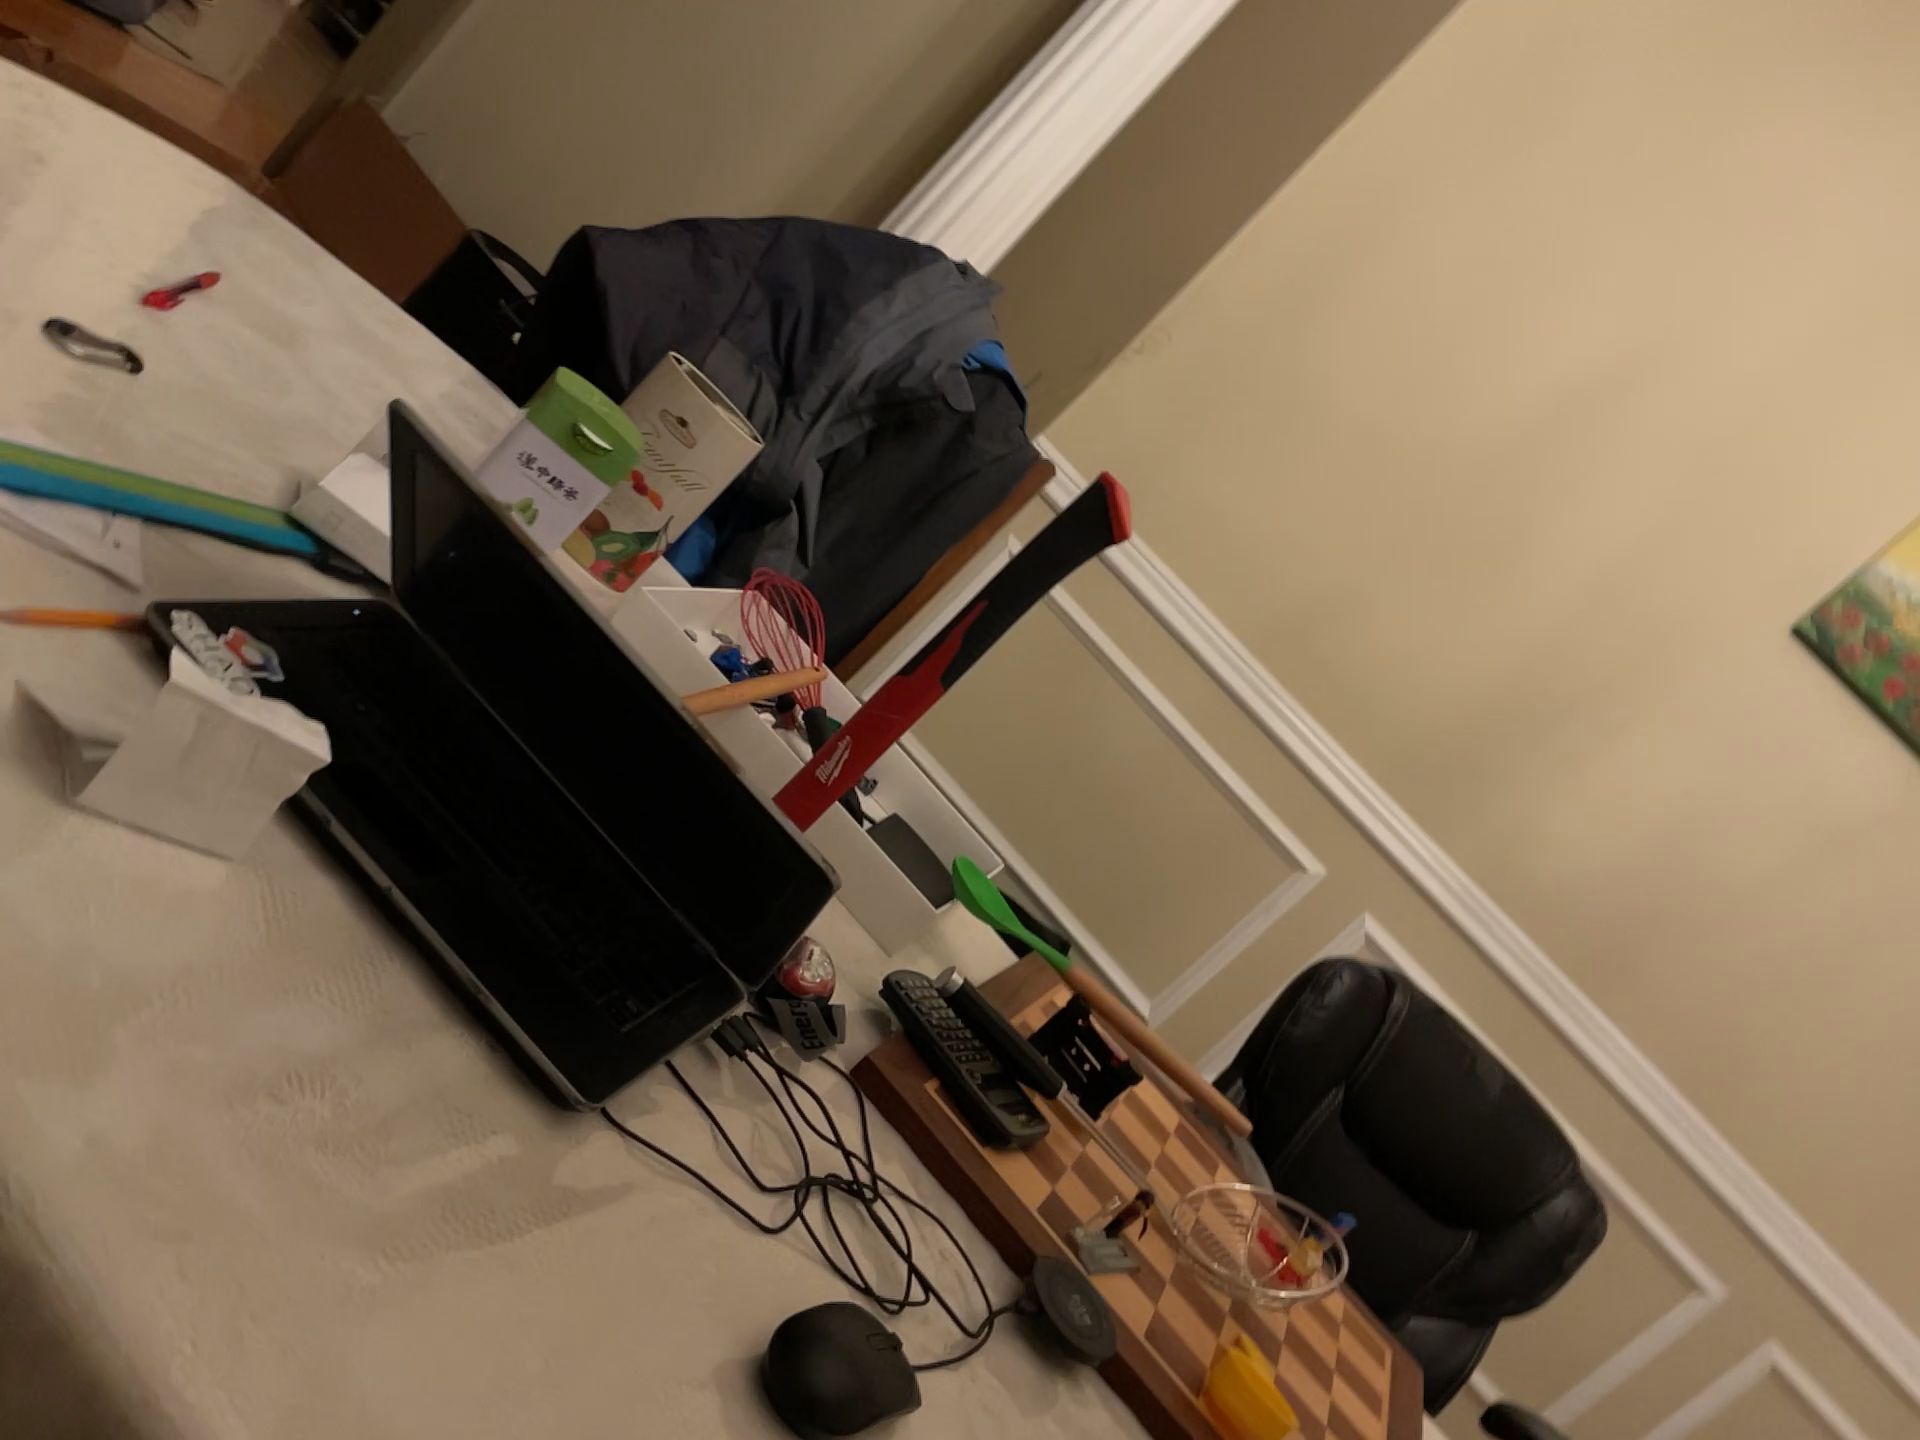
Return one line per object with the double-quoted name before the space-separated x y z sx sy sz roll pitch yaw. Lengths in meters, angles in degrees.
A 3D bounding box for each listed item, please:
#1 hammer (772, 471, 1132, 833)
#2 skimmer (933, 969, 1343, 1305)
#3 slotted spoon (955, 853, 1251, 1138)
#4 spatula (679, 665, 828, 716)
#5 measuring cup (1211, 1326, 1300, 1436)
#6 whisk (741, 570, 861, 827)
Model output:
"hammer" -0.038 -0.036 1.103 0.143 0.386 0.038 48 12 13
"skimmer" 0.131 0.292 1.152 0.363 0.090 0.127 47 13 -13
"slotted spoon" 0.105 0.216 1.252 0.314 0.031 0.070 41 7 23
"spatula" -0.197 -0.016 1.193 0.082 0.044 0.317 47 33 16
"measuring cup" 0.193 0.440 1.072 0.062 0.029 0.156 44 -1 11
"whisk" -0.138 -0.021 1.431 0.073 0.073 0.296 9 48 -40
